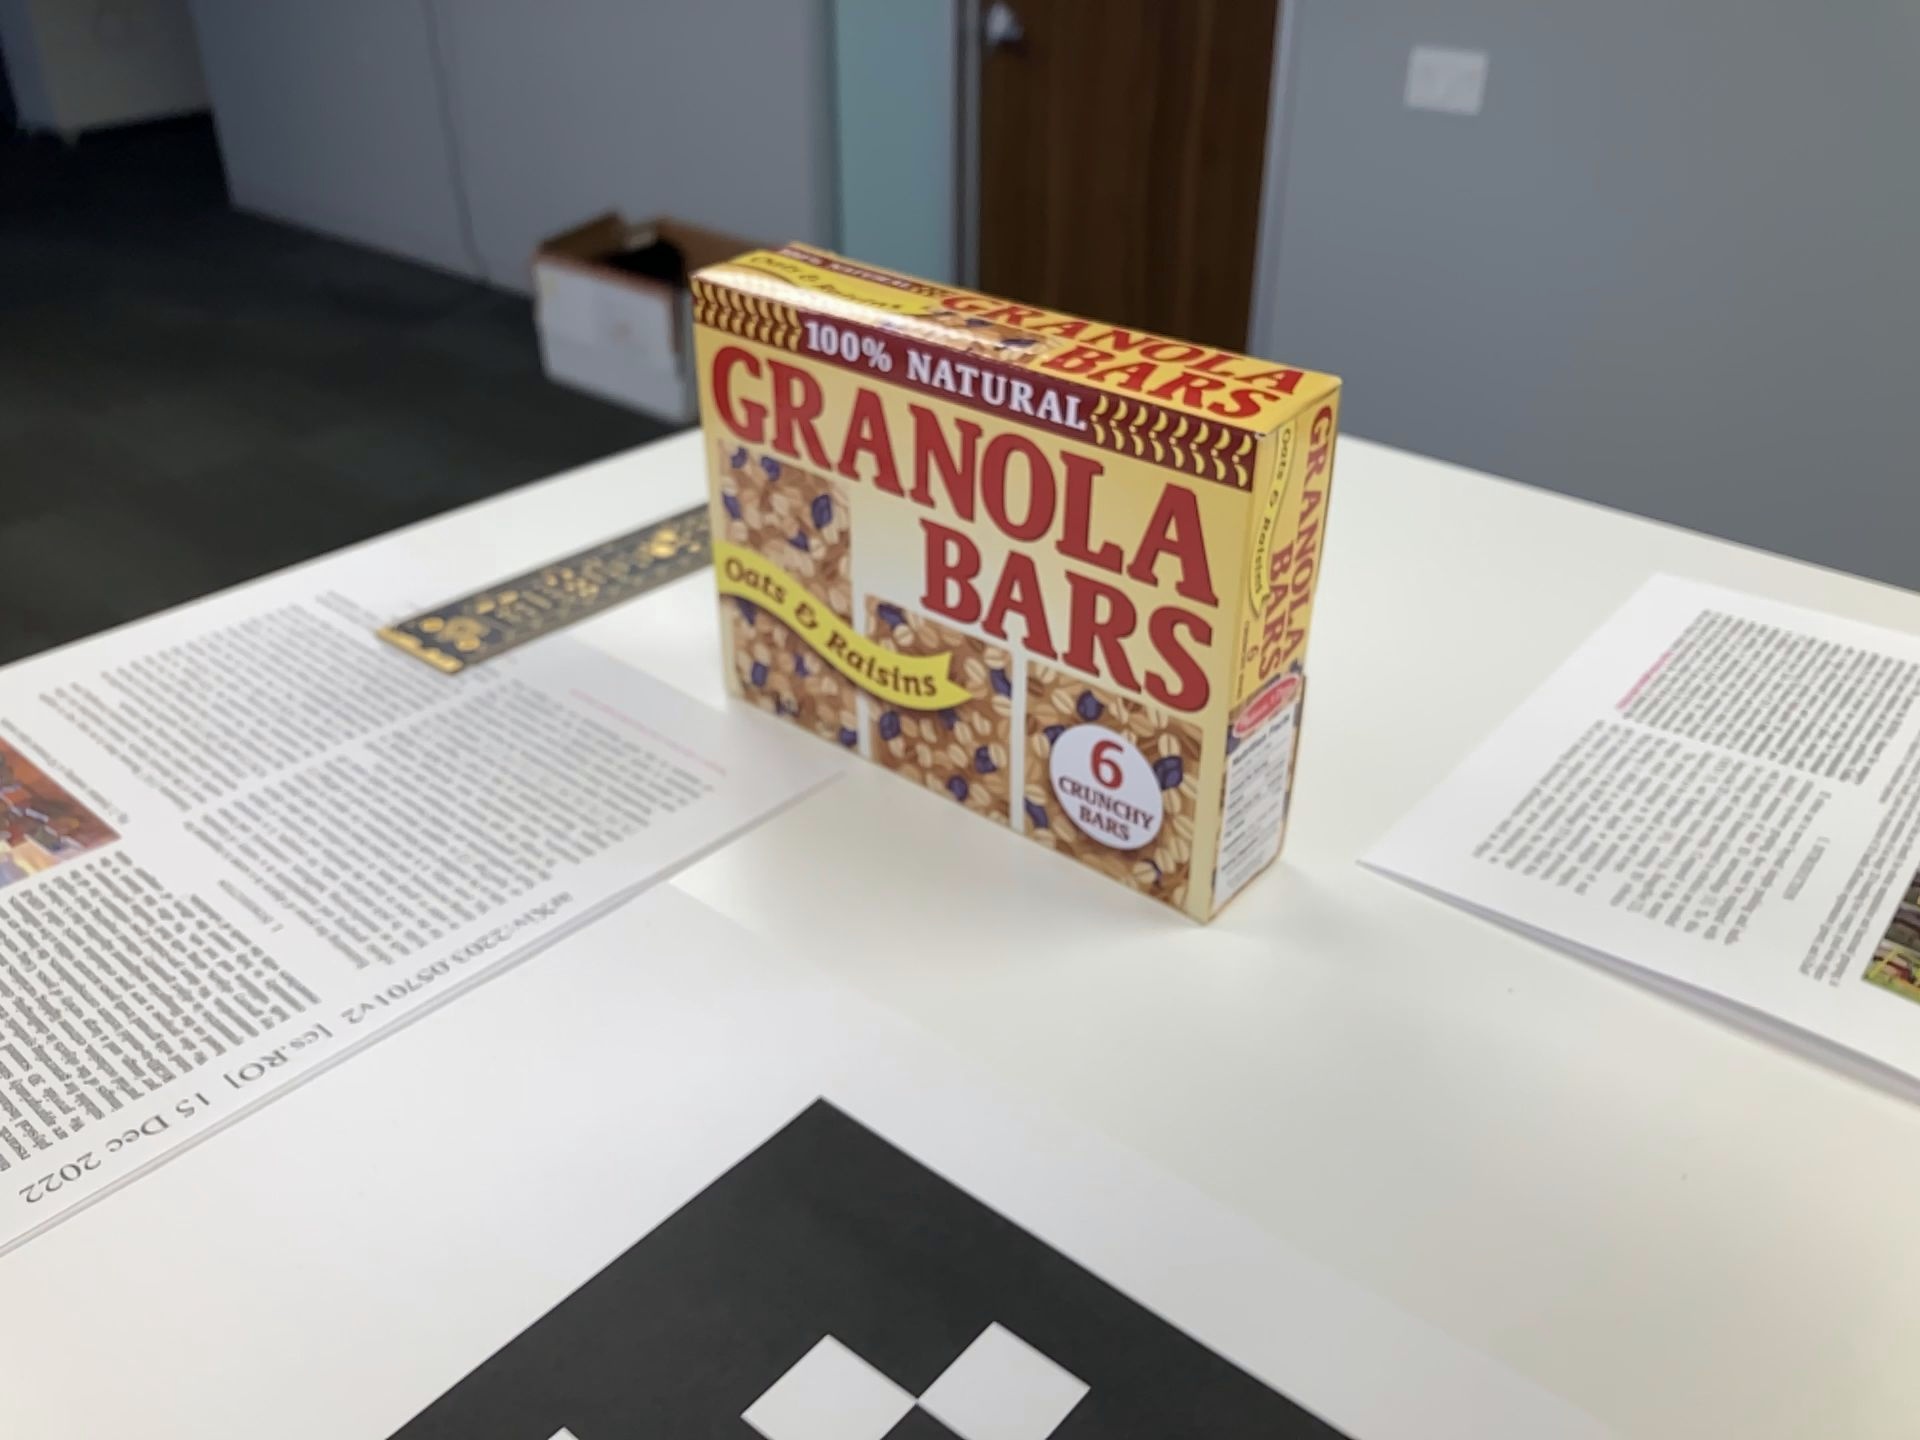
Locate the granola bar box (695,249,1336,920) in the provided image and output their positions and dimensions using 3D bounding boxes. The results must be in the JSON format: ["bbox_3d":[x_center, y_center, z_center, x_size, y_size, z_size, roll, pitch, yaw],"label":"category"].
[{"bbox_3d":[0.007,-0.039,0.401,0.165,0.124,0.039,24,39,34],"label":"granola bar box"}]
